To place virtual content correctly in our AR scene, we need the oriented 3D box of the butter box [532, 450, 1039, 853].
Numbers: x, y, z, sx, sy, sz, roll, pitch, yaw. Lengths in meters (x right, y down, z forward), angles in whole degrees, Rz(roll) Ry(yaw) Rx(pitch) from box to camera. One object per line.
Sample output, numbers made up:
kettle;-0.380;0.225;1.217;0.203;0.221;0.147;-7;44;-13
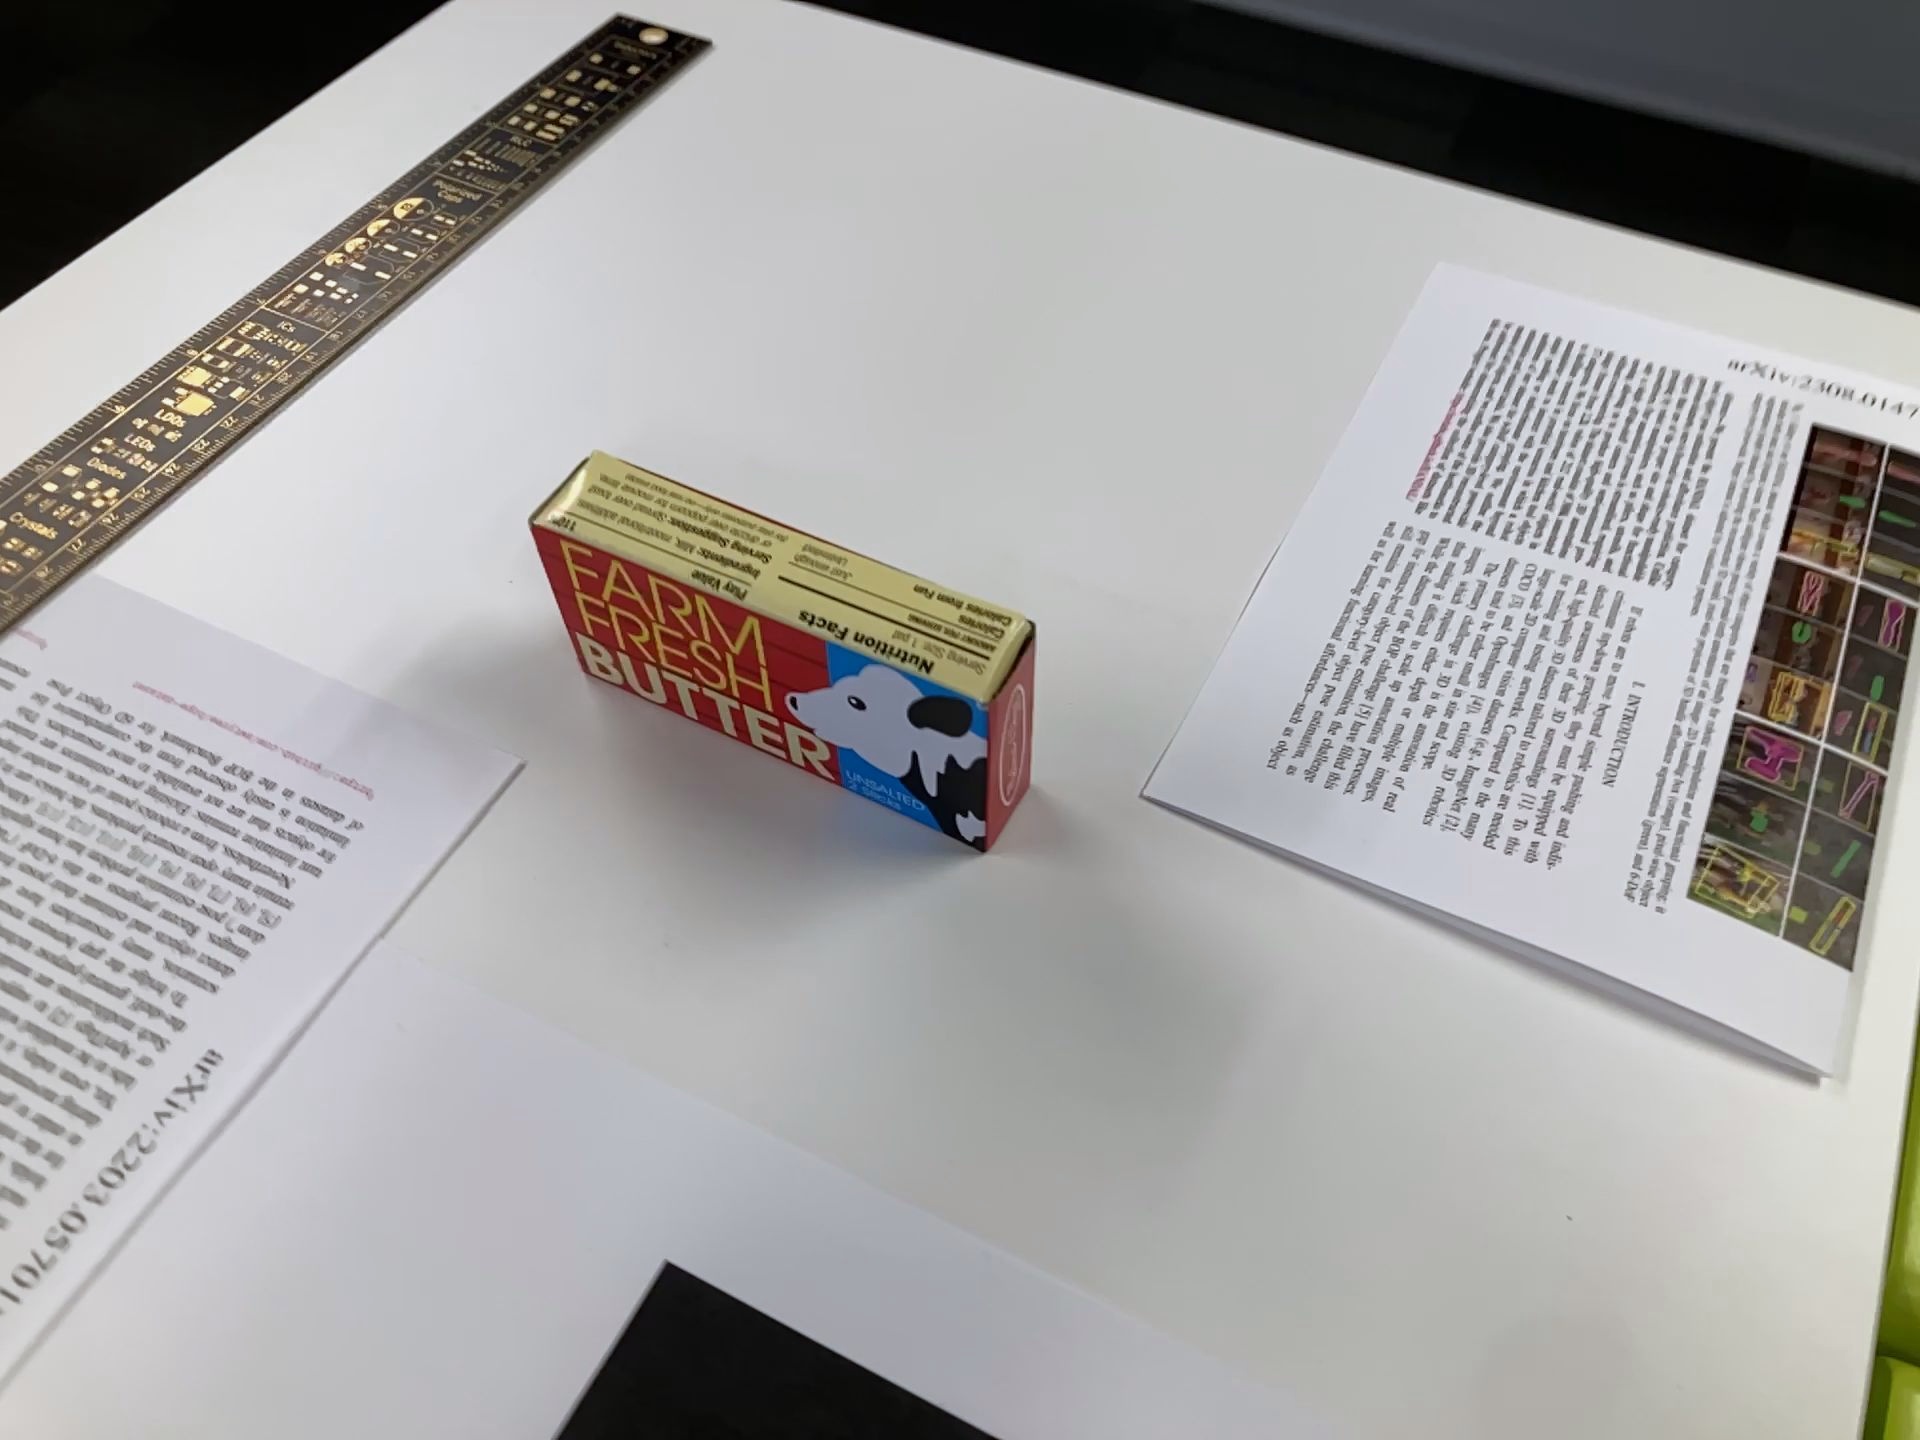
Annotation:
butter box;-0.035;-0.014;0.323;0.103;0.053;0.024;22;57;16
